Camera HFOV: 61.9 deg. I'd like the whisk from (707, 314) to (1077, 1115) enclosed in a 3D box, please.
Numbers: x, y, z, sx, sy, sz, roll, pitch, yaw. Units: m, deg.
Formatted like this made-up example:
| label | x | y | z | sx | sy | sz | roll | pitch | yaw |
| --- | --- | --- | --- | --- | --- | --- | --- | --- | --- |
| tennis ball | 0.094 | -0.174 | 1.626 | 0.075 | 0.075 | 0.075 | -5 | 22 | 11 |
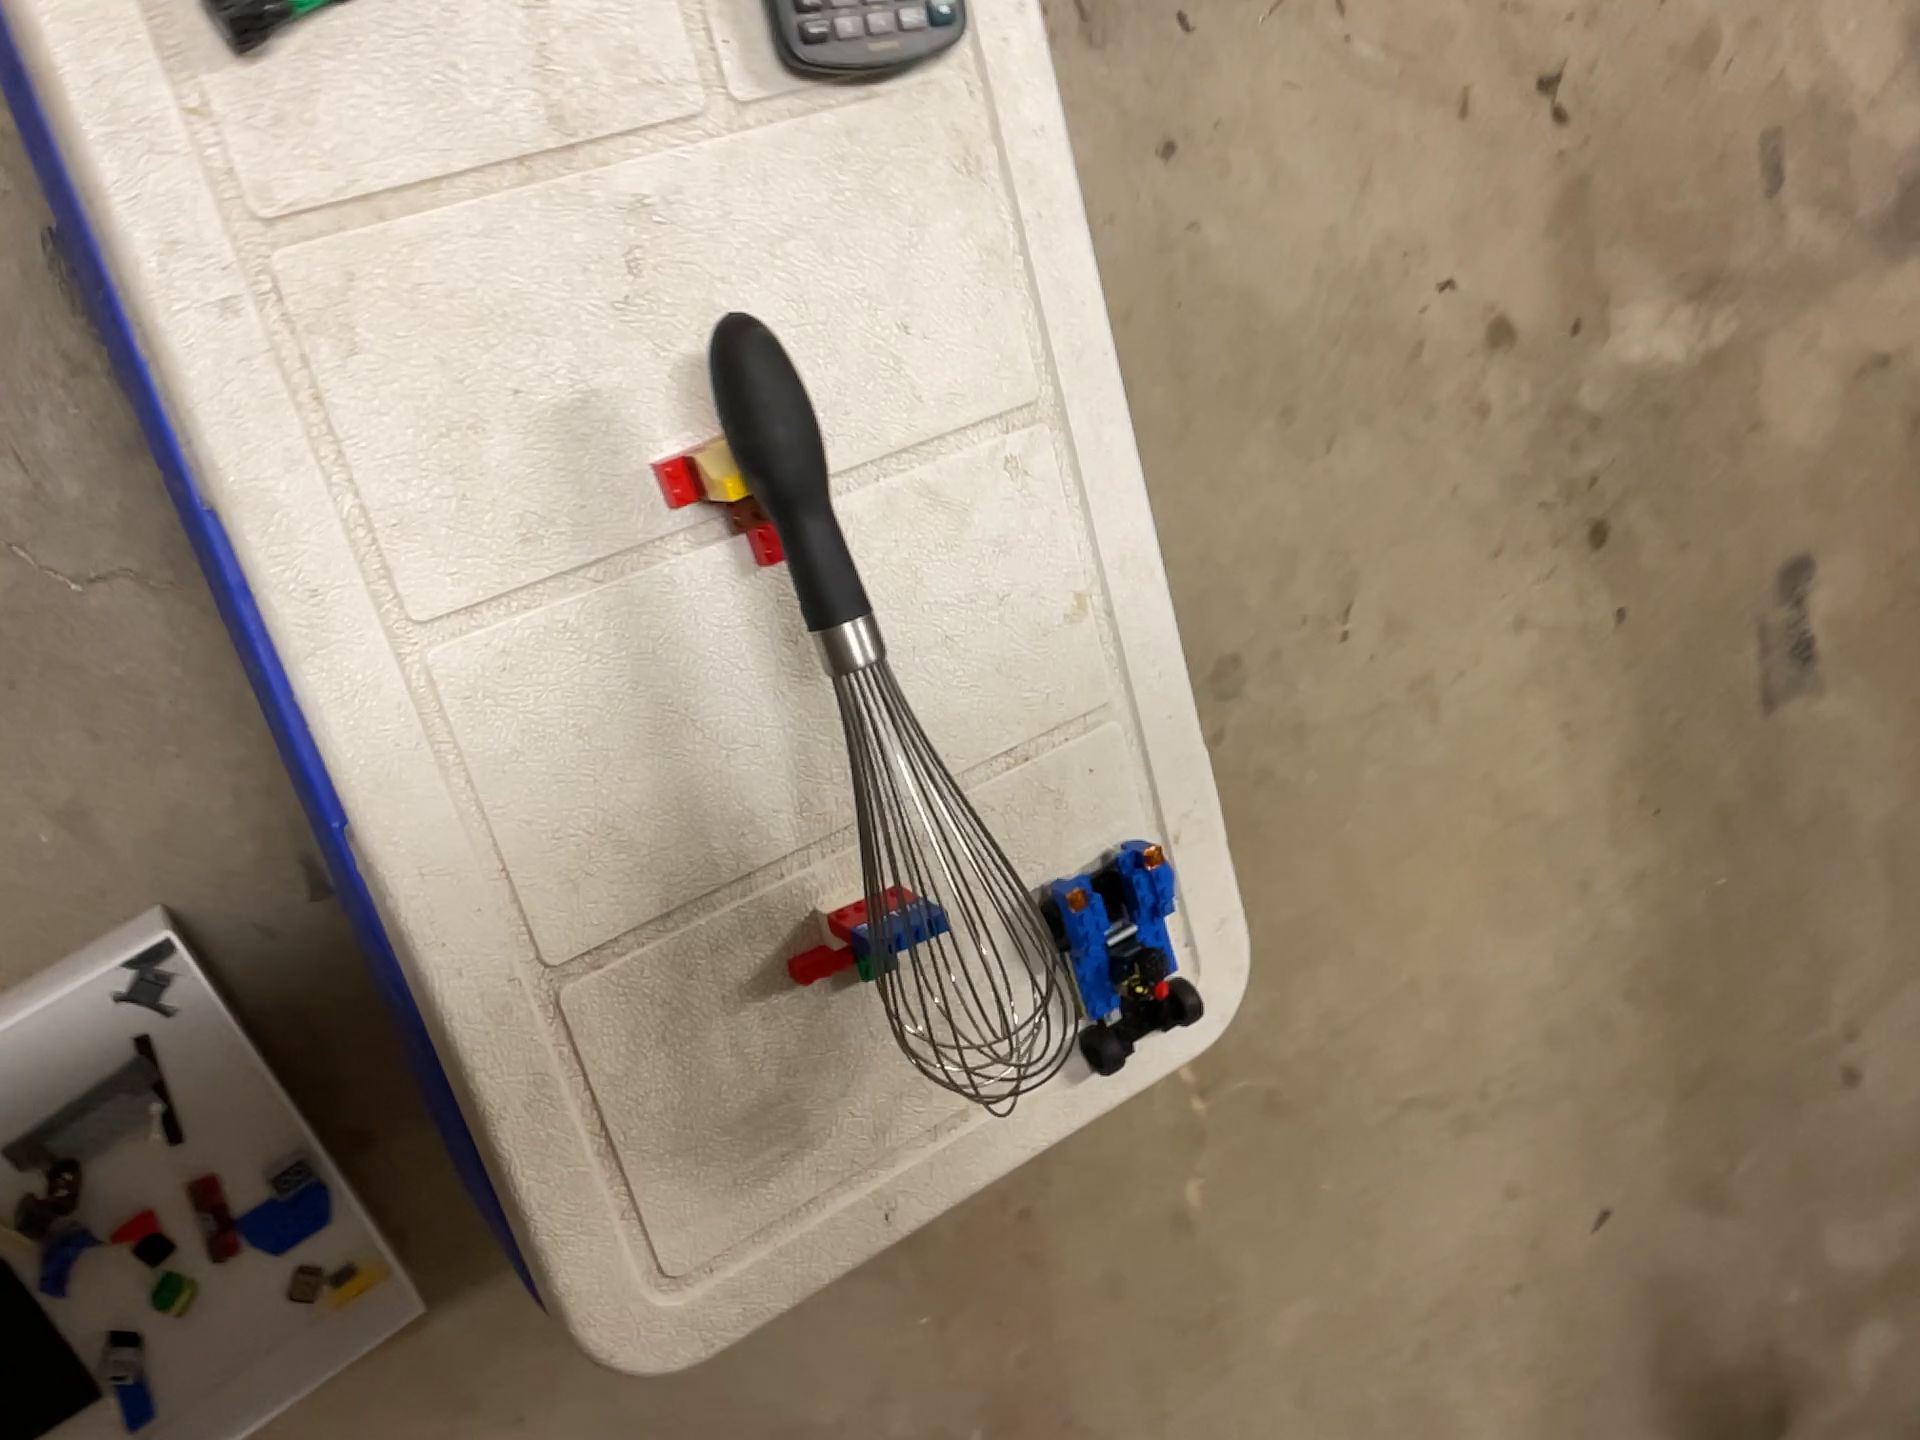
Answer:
| label | x | y | z | sx | sy | sz | roll | pitch | yaw |
| --- | --- | --- | --- | --- | --- | --- | --- | --- | --- |
| whisk | -0.027 | 0.004 | 0.534 | 0.070 | 0.070 | 0.284 | -24 | 104 | -20 |
